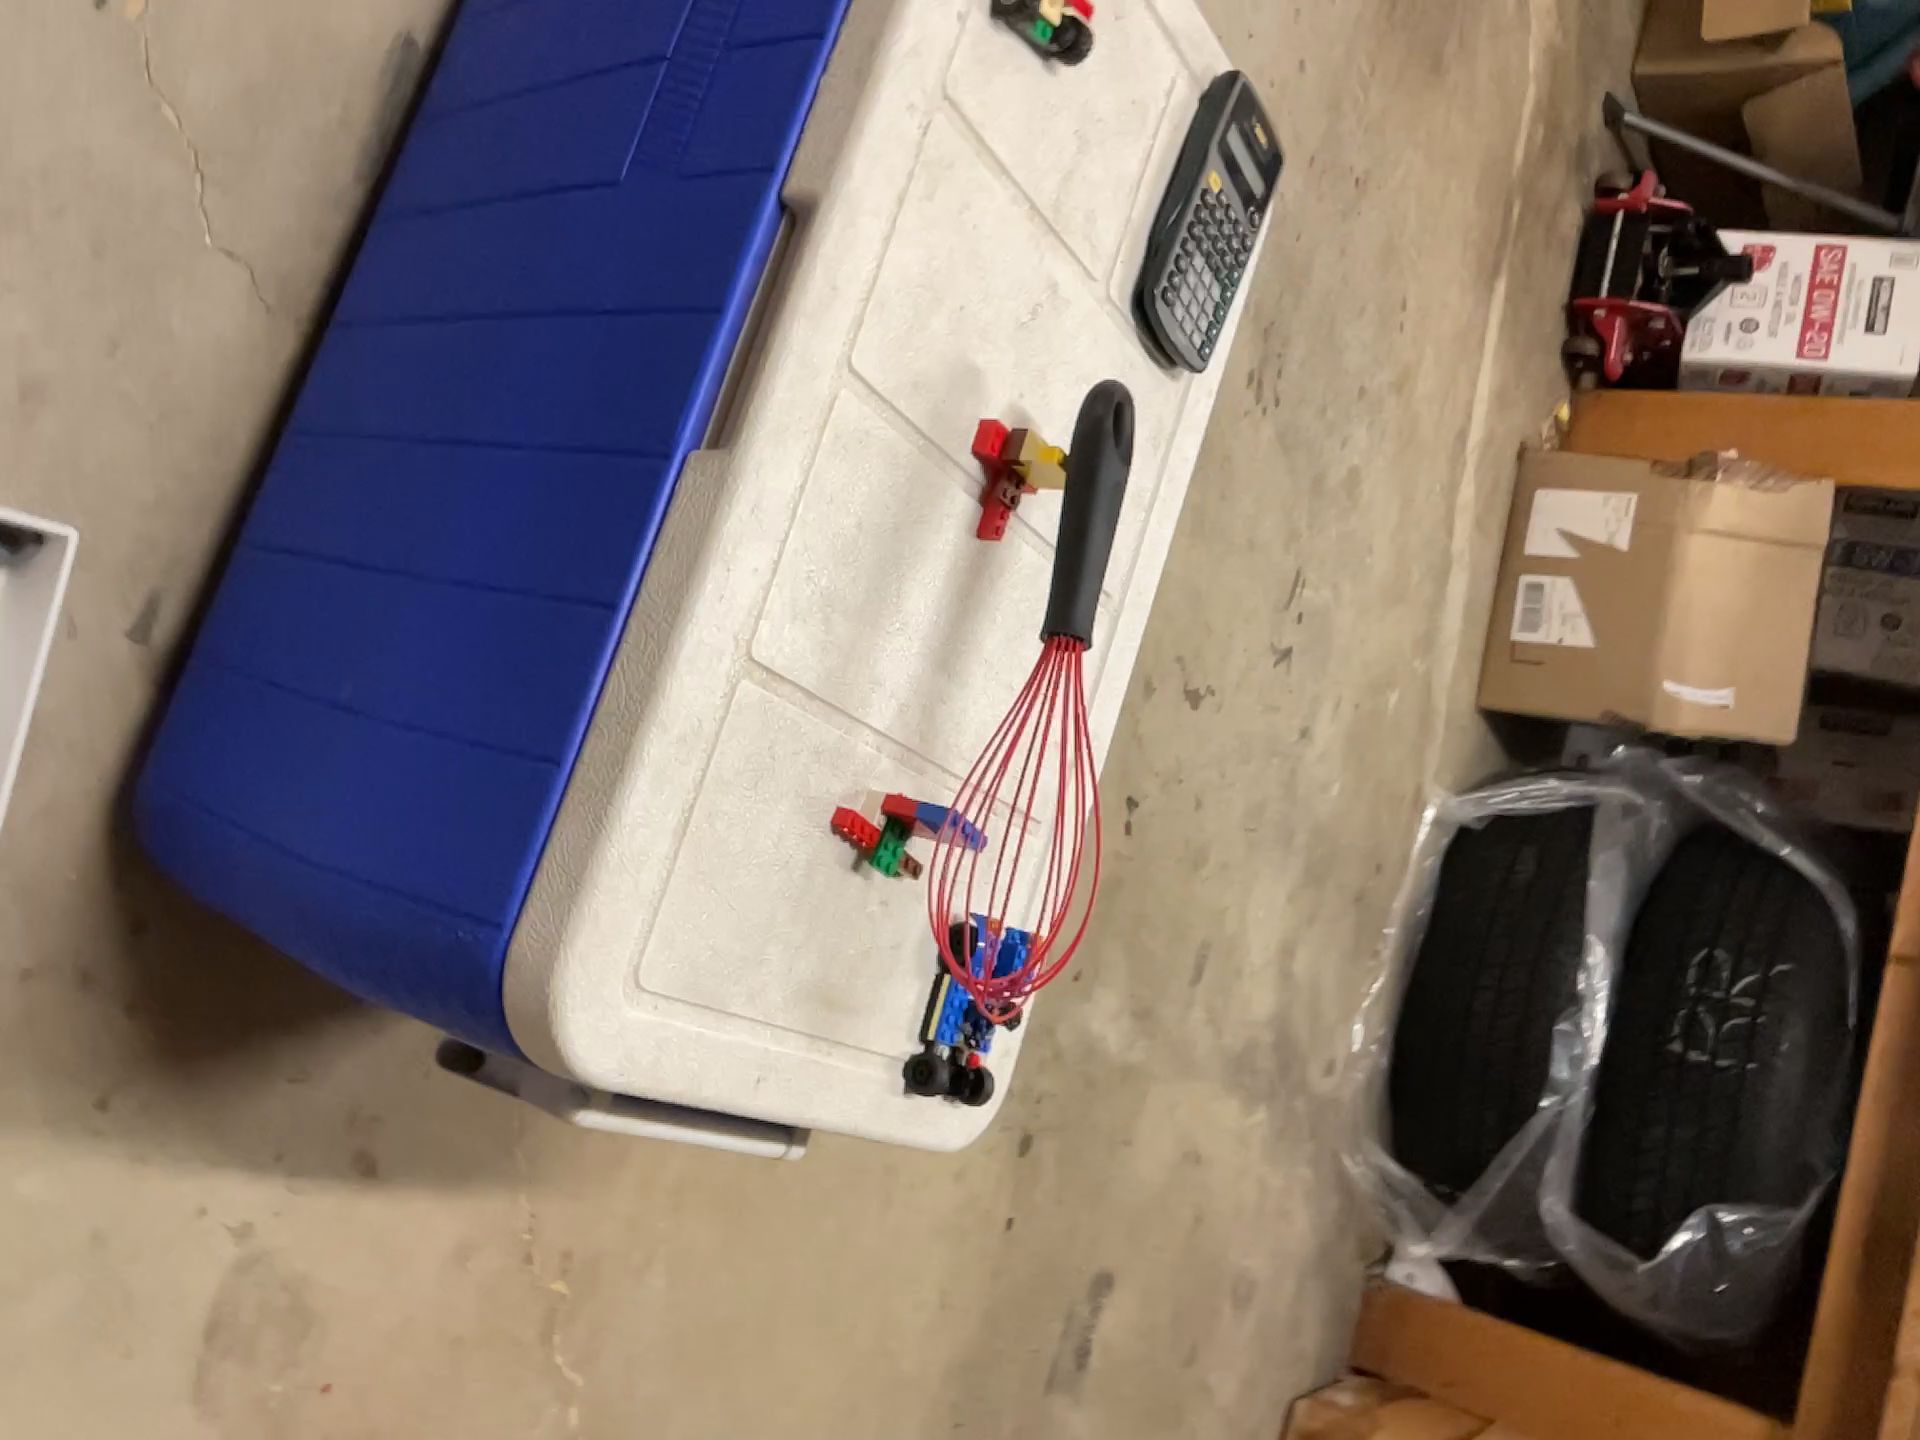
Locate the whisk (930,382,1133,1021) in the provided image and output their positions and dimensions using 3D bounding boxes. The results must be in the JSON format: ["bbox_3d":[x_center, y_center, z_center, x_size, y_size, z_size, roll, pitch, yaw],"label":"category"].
[{"bbox_3d":[0.042,-0.016,0.694,0.073,0.073,0.296,33,63,-50],"label":"whisk"}]
